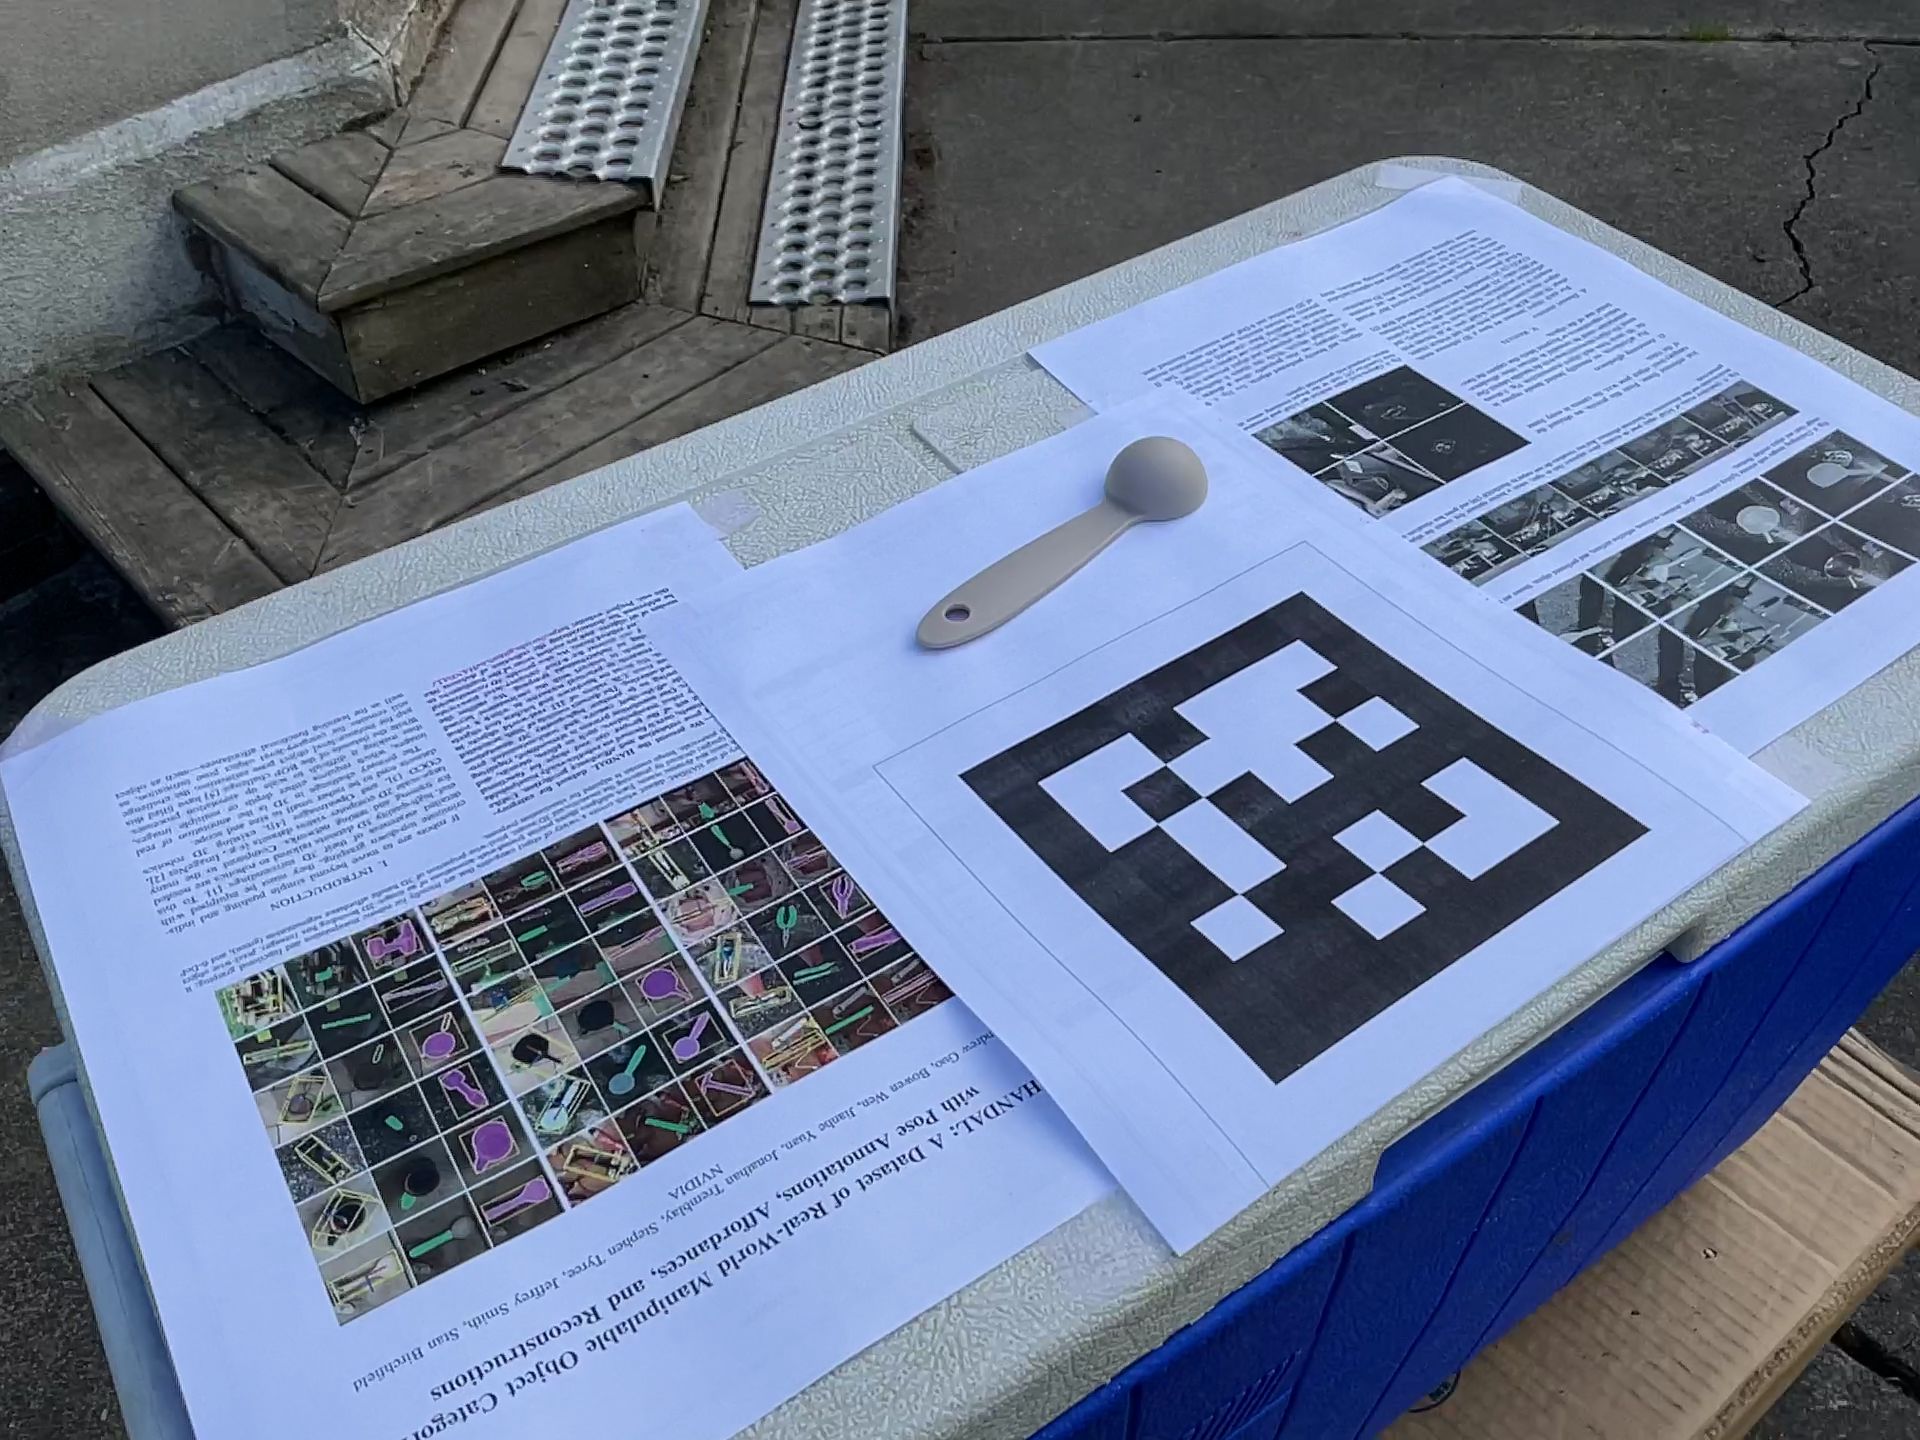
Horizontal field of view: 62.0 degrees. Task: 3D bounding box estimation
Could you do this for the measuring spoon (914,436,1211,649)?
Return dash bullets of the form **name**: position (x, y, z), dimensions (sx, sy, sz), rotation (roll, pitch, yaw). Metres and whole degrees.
- **measuring spoon**: position (0.032, -0.058, 0.497), dimensions (0.124, 0.018, 0.034), rotation (-36, 54, -28)
